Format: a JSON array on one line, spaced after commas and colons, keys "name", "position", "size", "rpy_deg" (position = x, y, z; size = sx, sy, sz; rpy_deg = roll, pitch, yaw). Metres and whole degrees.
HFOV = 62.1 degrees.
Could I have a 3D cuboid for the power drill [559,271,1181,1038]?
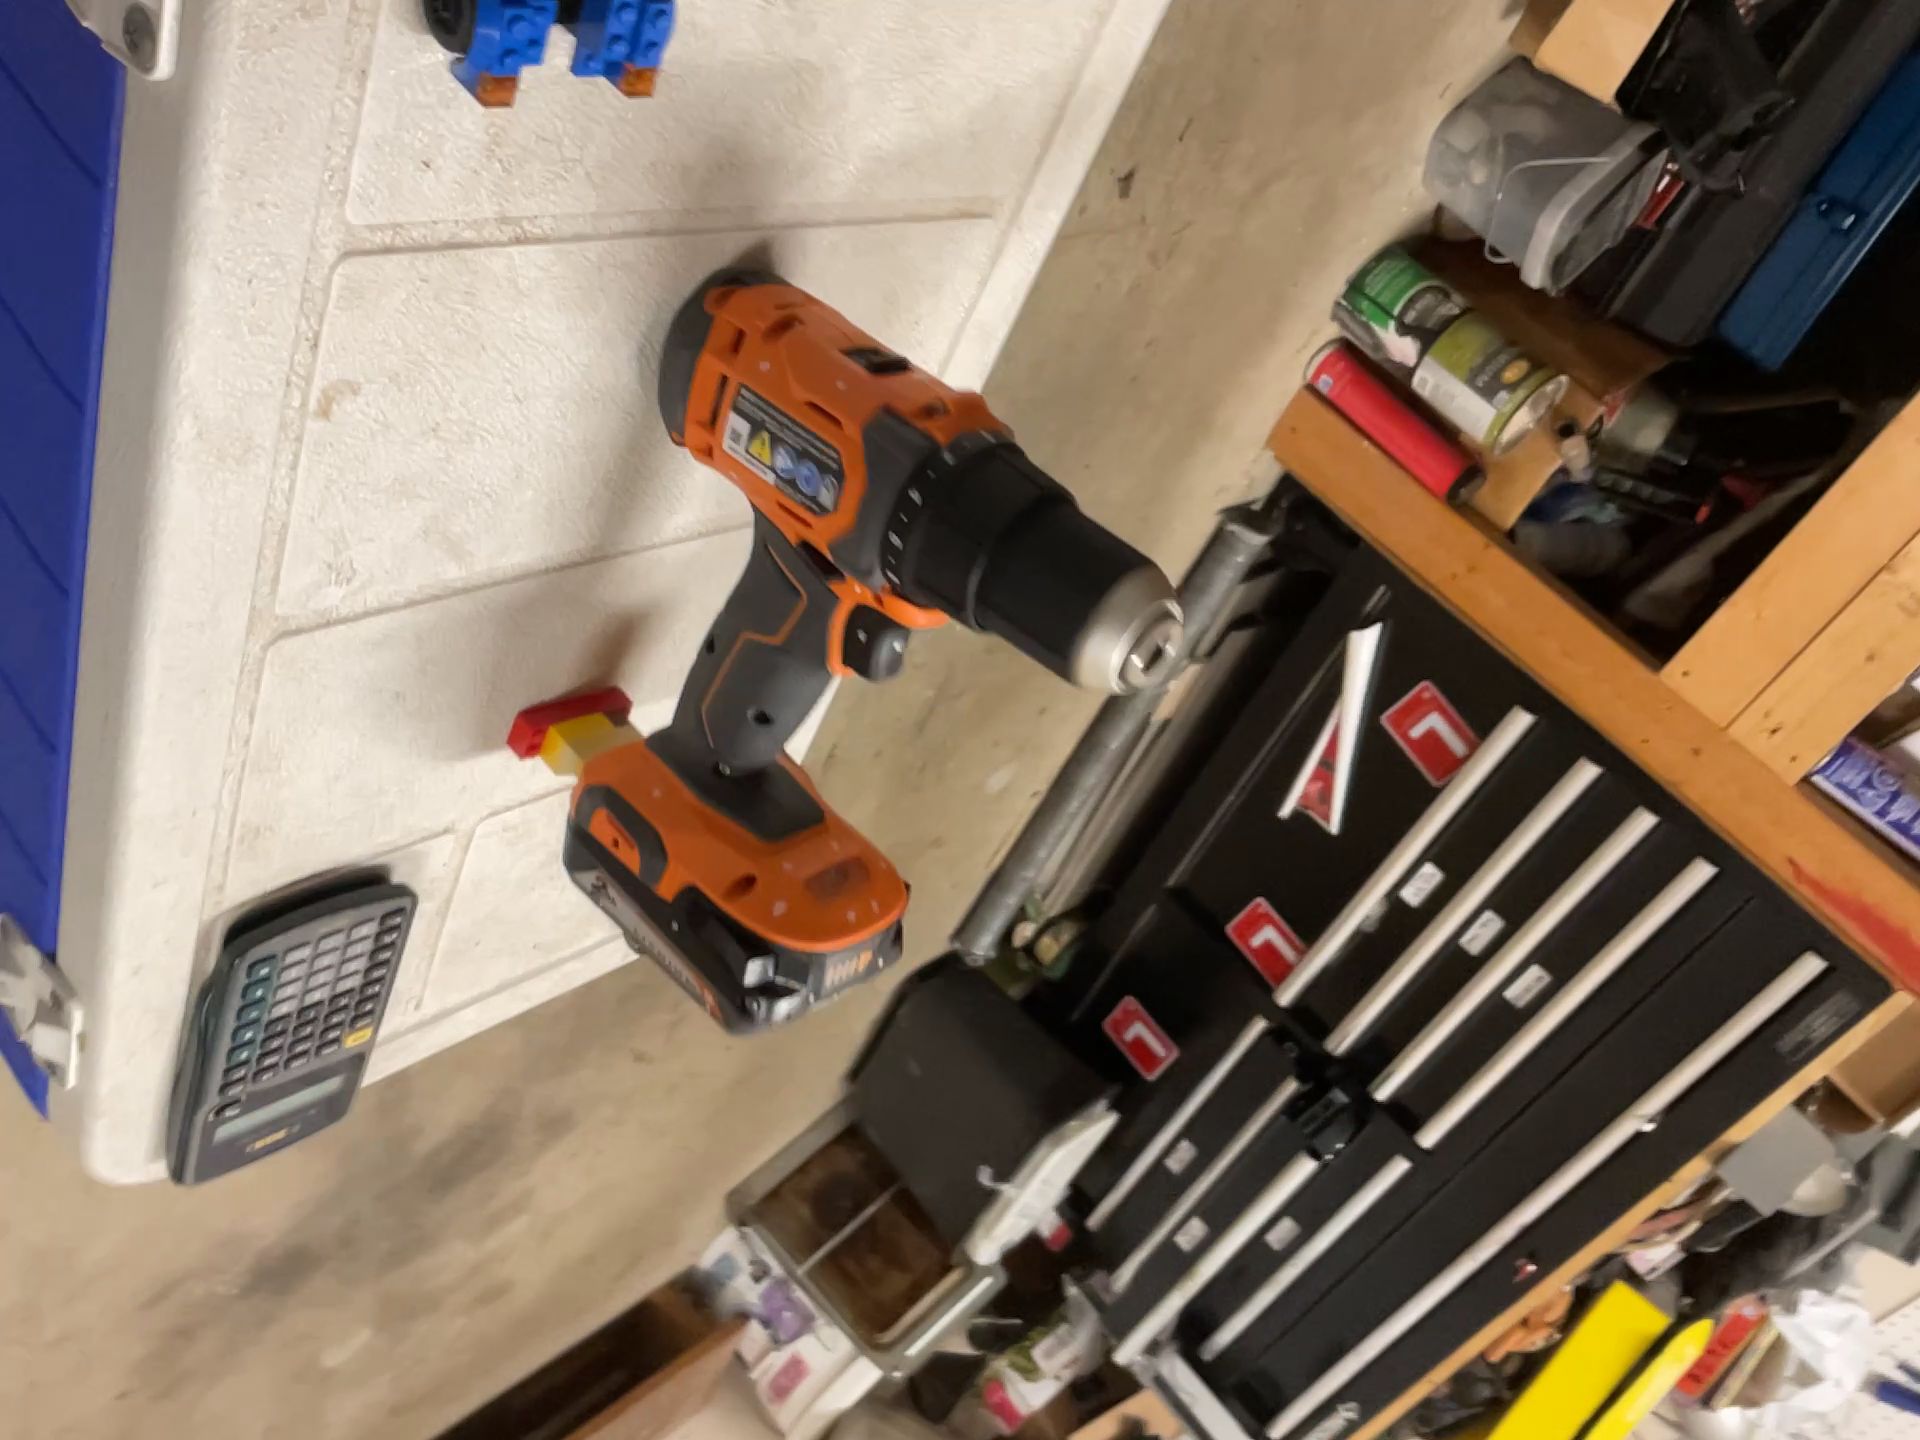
[{"name": "power drill", "position": [-0.037, -0.004, 0.515], "size": [0.084, 0.185, 0.225], "rpy_deg": [-21, 140, -49]}]
